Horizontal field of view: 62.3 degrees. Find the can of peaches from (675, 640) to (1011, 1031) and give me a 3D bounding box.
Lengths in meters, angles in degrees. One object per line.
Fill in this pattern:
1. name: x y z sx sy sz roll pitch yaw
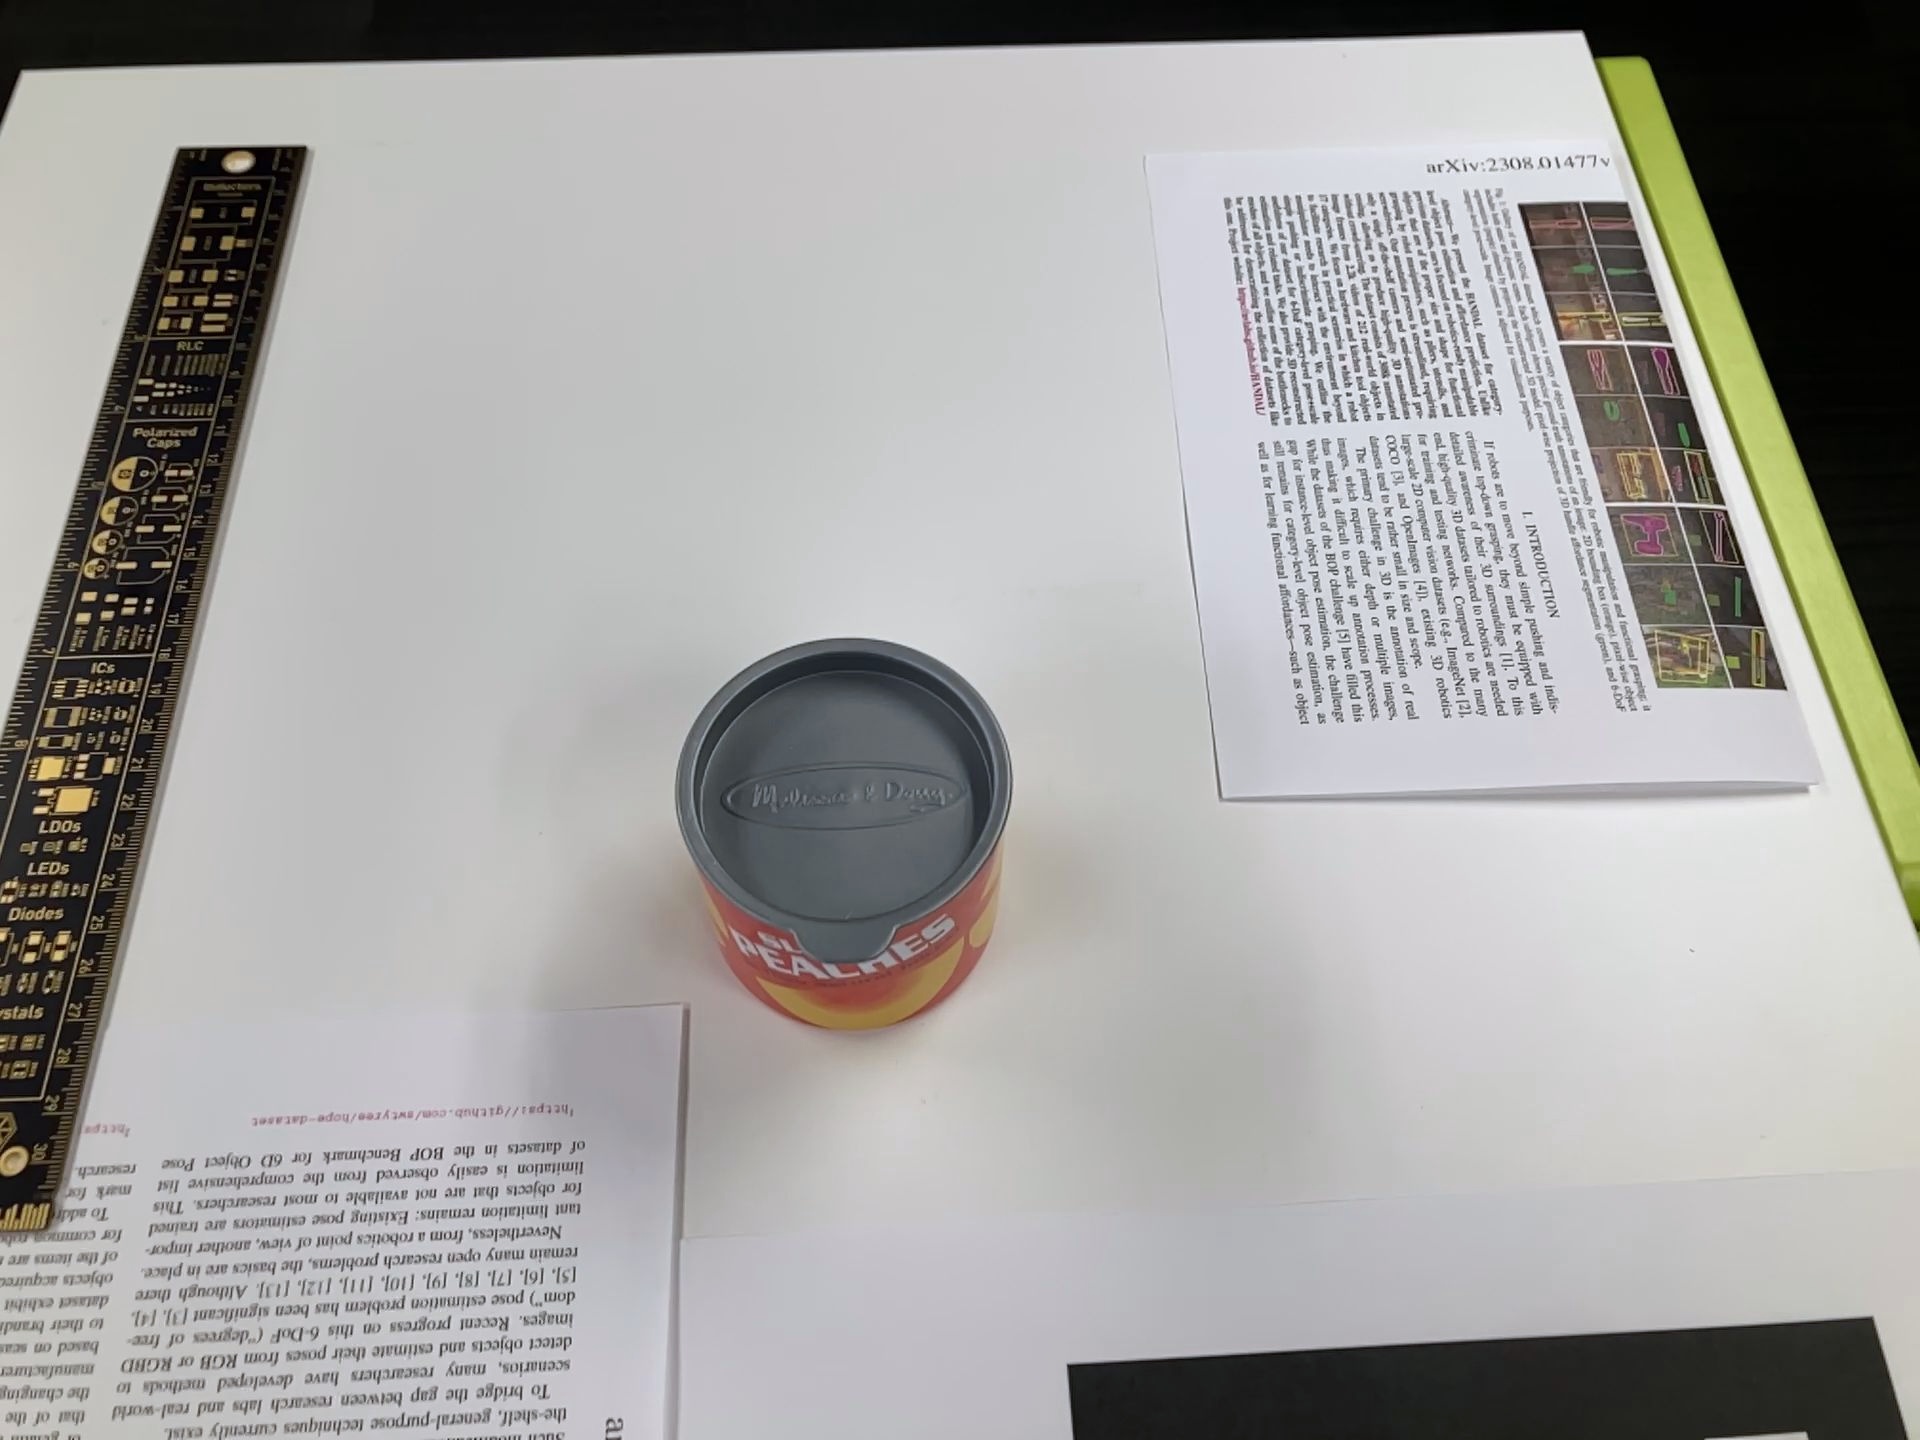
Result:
1. can of peaches: -0.024 0.028 0.336 0.071 0.058 0.071 1 61 -1
